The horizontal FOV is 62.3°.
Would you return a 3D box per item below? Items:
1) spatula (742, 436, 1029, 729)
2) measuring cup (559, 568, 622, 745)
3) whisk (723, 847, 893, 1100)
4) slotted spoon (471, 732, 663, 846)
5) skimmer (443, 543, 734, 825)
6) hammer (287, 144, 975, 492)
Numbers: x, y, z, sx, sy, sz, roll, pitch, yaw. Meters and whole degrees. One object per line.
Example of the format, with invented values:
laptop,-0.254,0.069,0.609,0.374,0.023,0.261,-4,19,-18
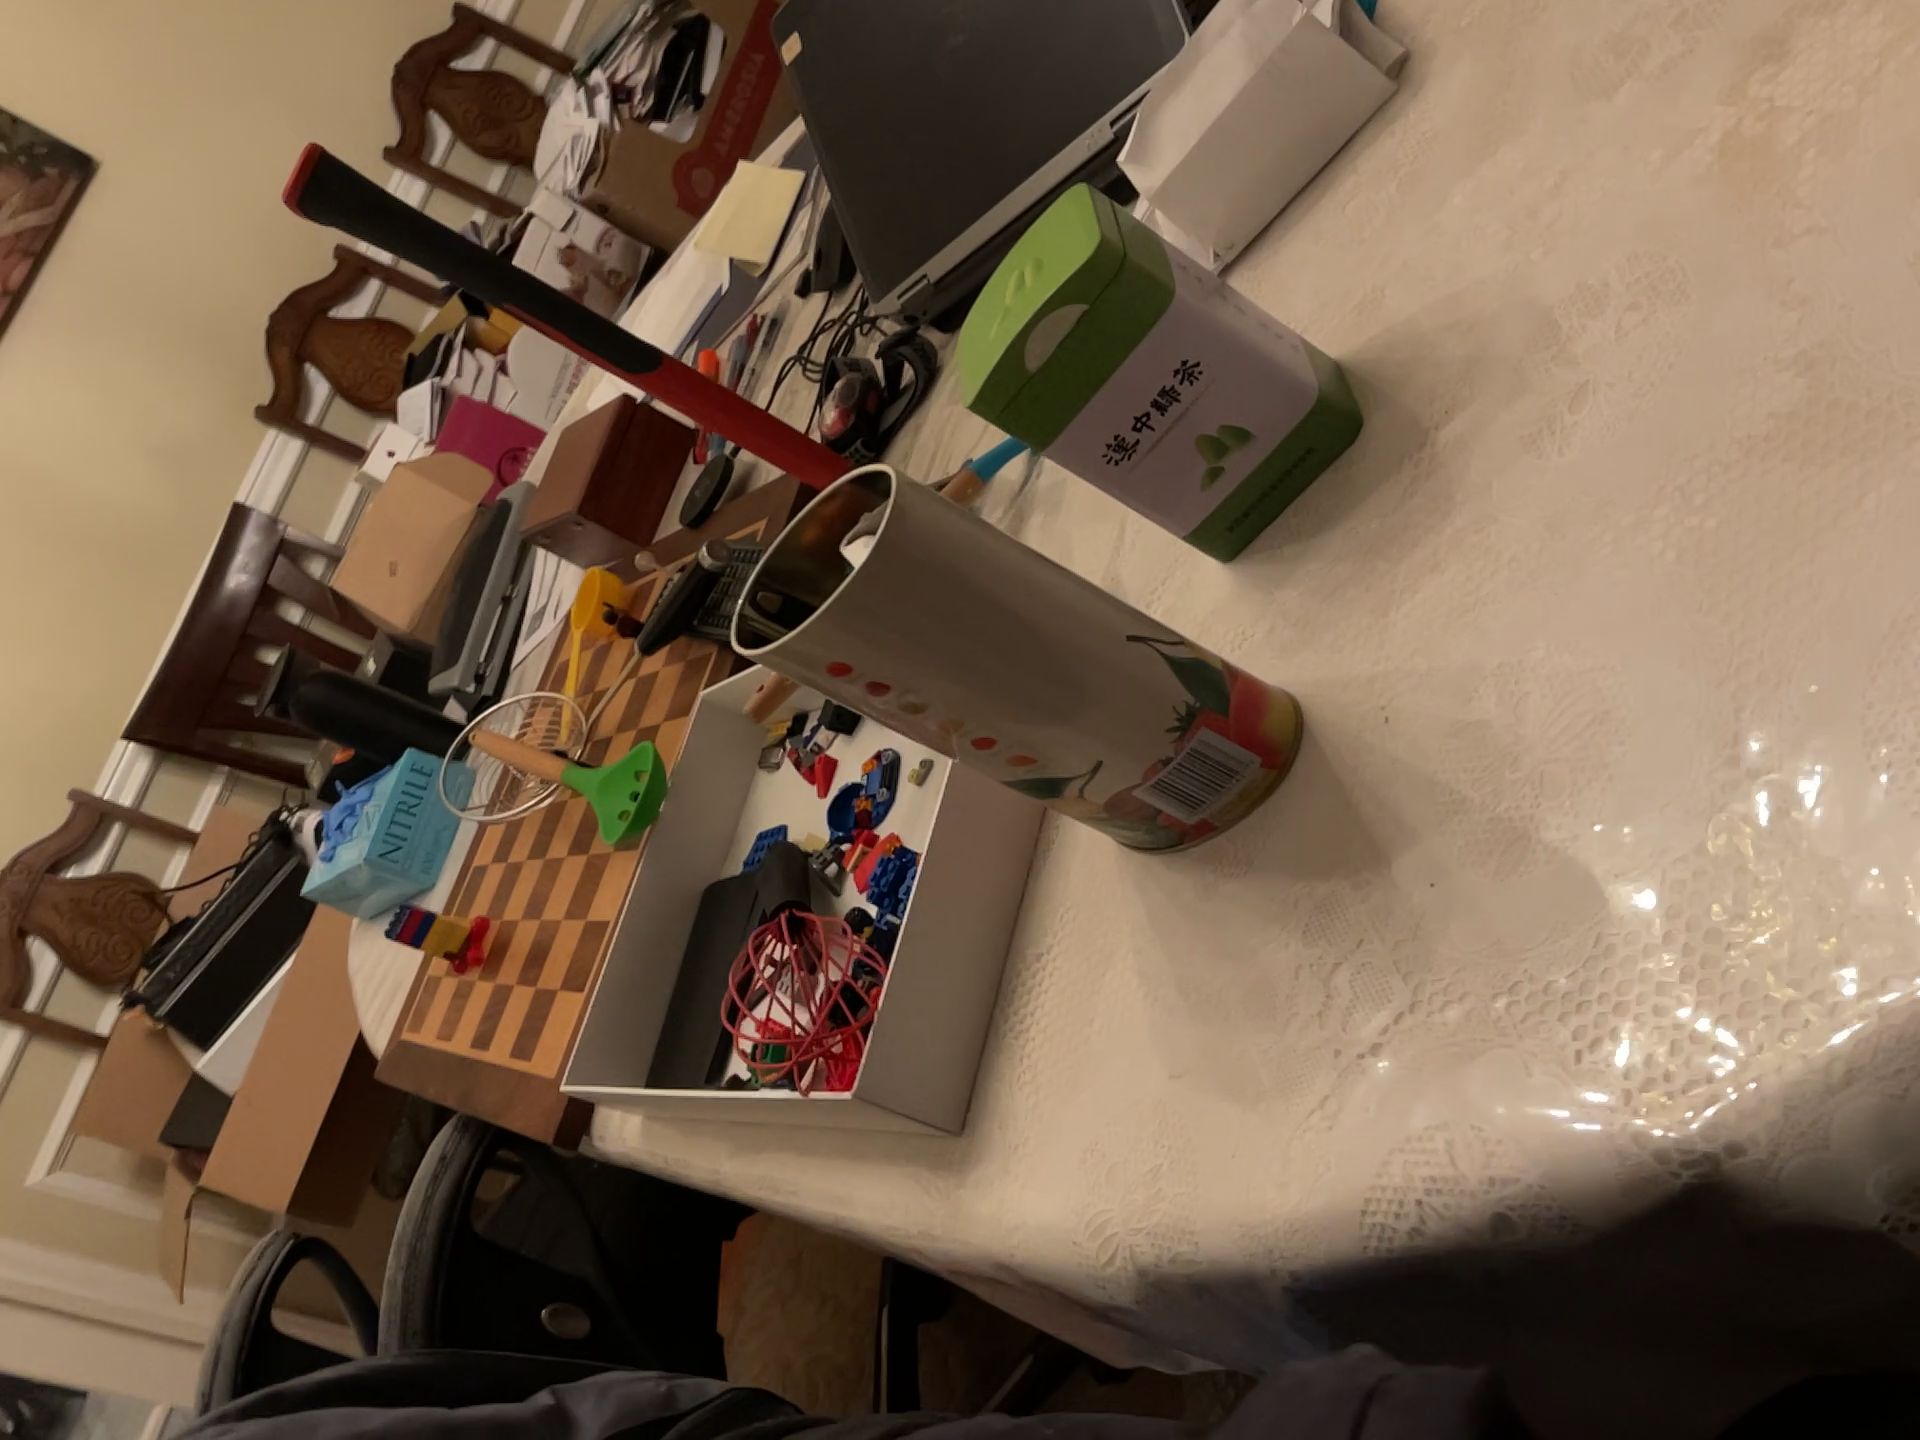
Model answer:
spatula,-0.016,-0.118,0.841,0.317,0.044,0.082,-50,23,-22
measuring cup,-0.320,-0.053,1.369,0.062,0.029,0.156,-10,70,55
whisk,-0.078,0.105,0.762,0.073,0.073,0.296,-43,14,1
slotted spoon,-0.274,0.033,1.084,0.314,0.031,0.070,11,78,54
skimmer,-0.286,-0.034,1.194,0.363,0.090,0.127,-42,31,43
hammer,-0.174,-0.203,0.881,0.143,0.385,0.038,-8,59,59
